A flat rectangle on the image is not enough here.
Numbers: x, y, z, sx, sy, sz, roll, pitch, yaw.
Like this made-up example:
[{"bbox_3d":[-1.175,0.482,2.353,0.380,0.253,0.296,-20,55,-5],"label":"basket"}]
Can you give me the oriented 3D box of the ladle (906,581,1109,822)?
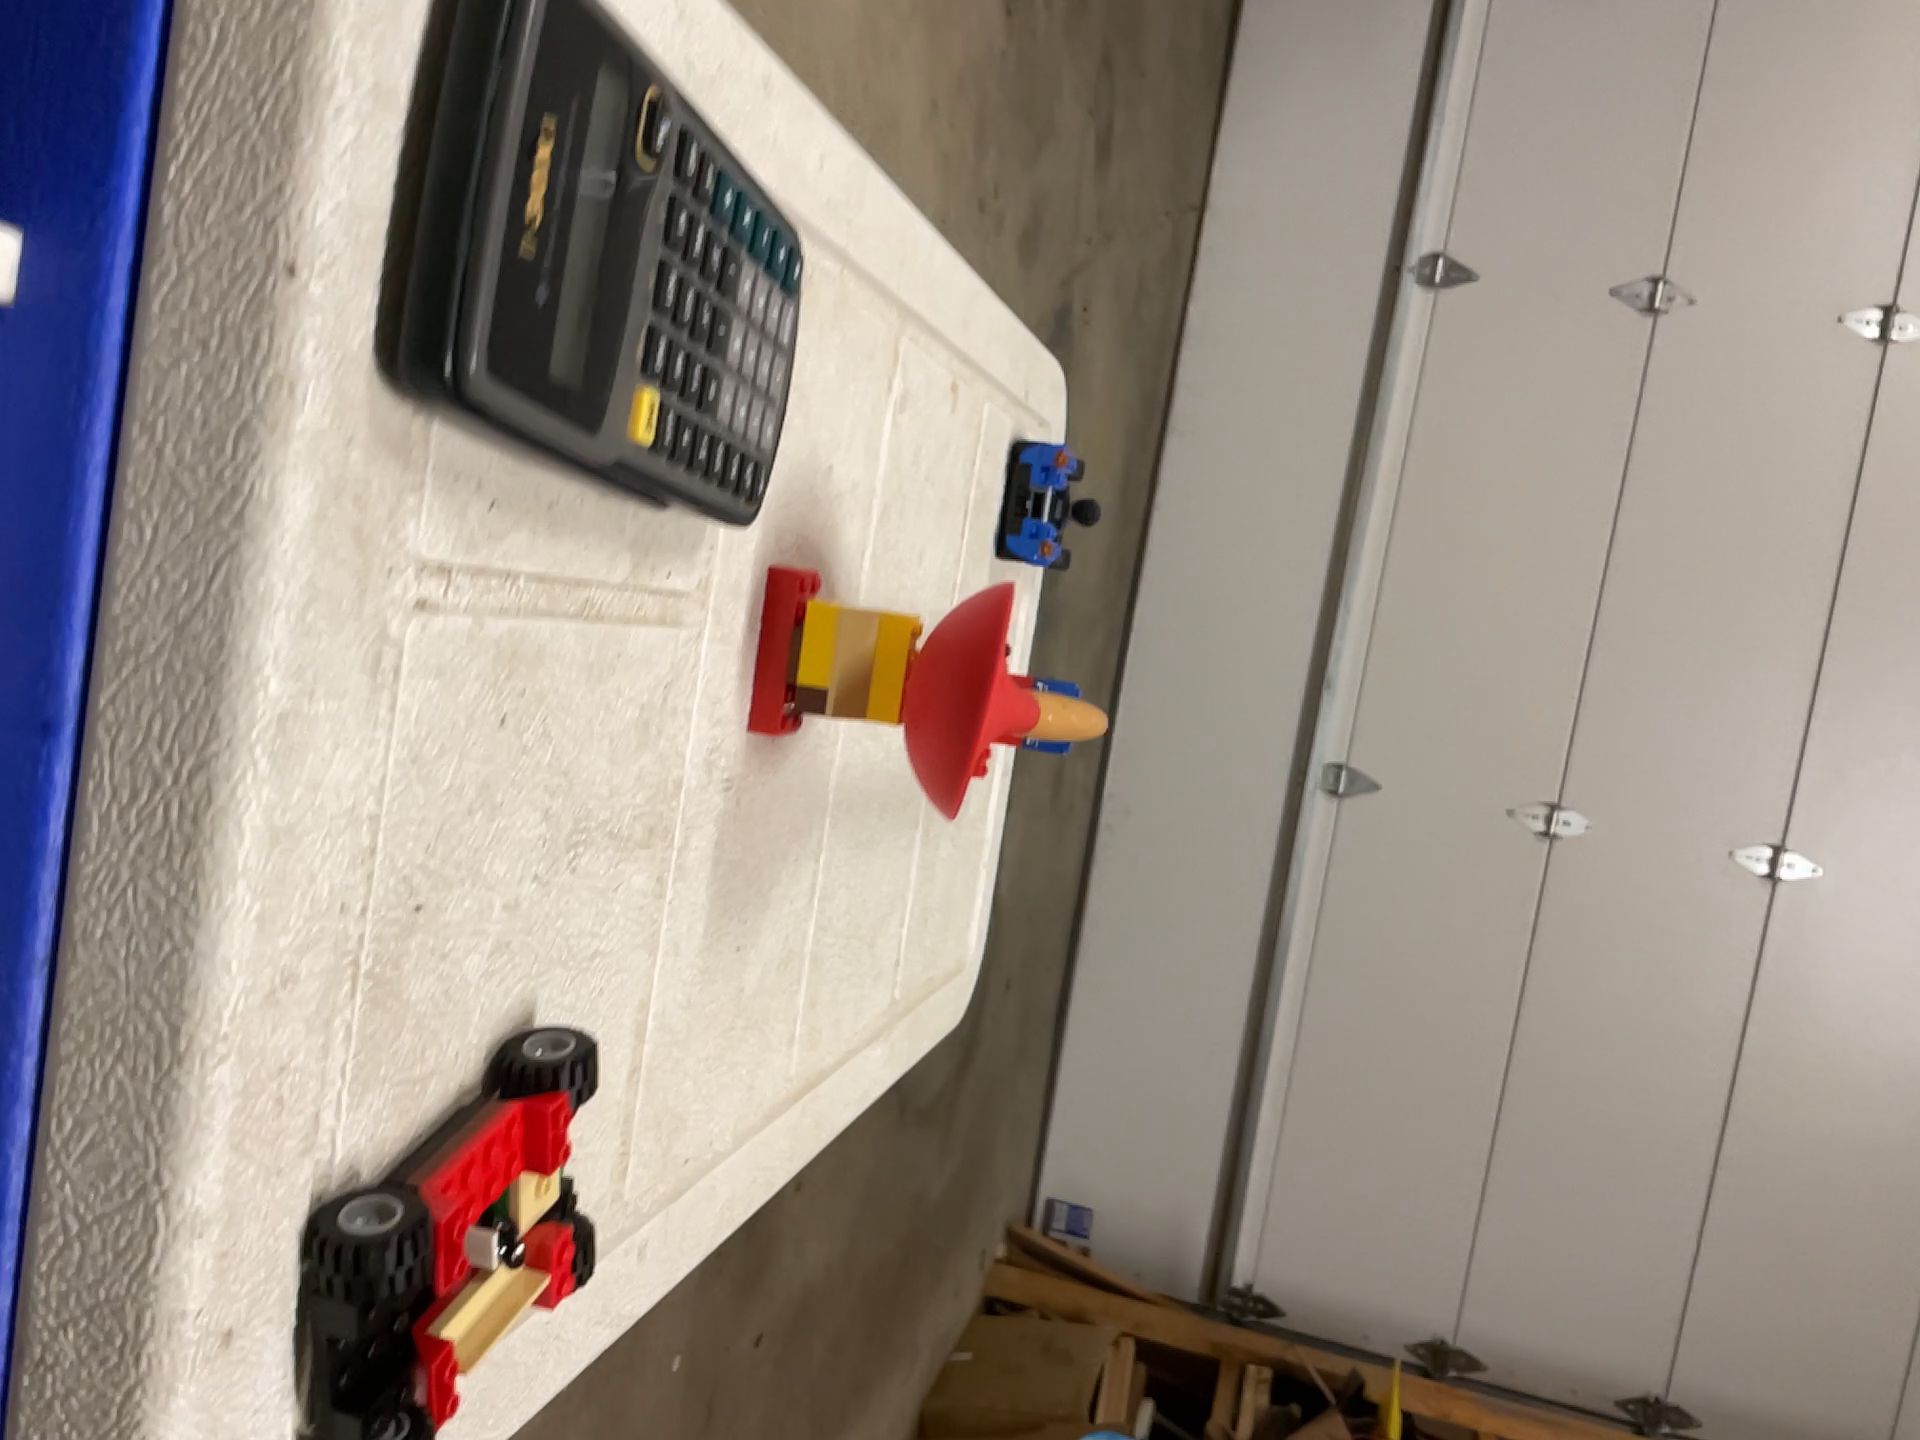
[{"bbox_3d":[0.027,-0.003,0.562,0.315,0.031,0.069,8,97,-77],"label":"ladle"}]
